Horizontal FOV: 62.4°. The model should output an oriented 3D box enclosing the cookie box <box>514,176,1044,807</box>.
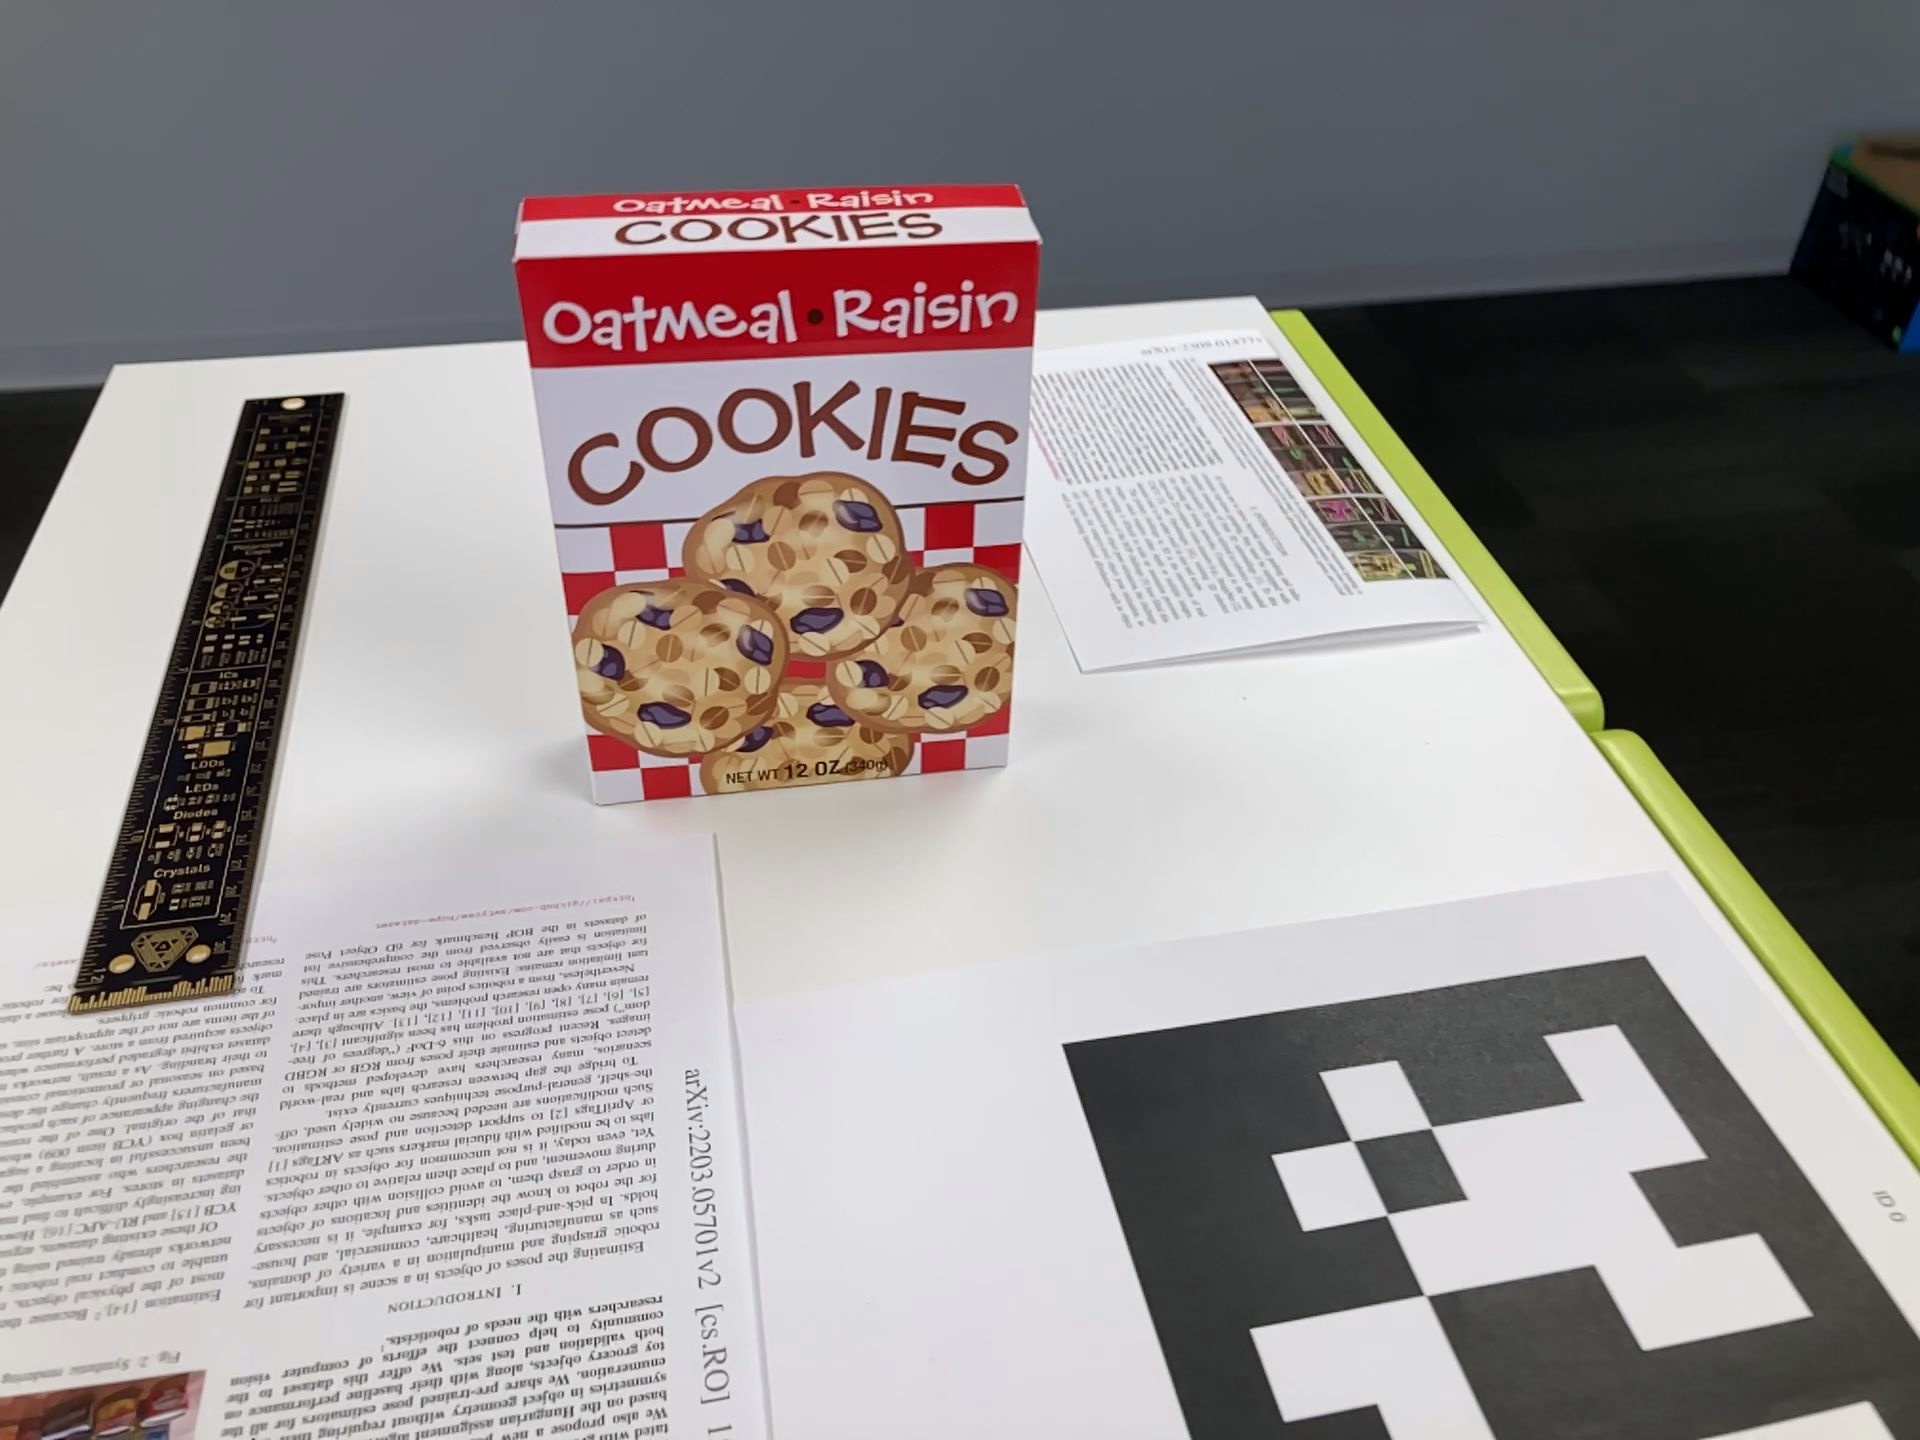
[{"bbox_3d":[-0.045,-0.057,0.427,0.123,0.167,0.040,-5,40,-8],"label":"cookie box"}]
